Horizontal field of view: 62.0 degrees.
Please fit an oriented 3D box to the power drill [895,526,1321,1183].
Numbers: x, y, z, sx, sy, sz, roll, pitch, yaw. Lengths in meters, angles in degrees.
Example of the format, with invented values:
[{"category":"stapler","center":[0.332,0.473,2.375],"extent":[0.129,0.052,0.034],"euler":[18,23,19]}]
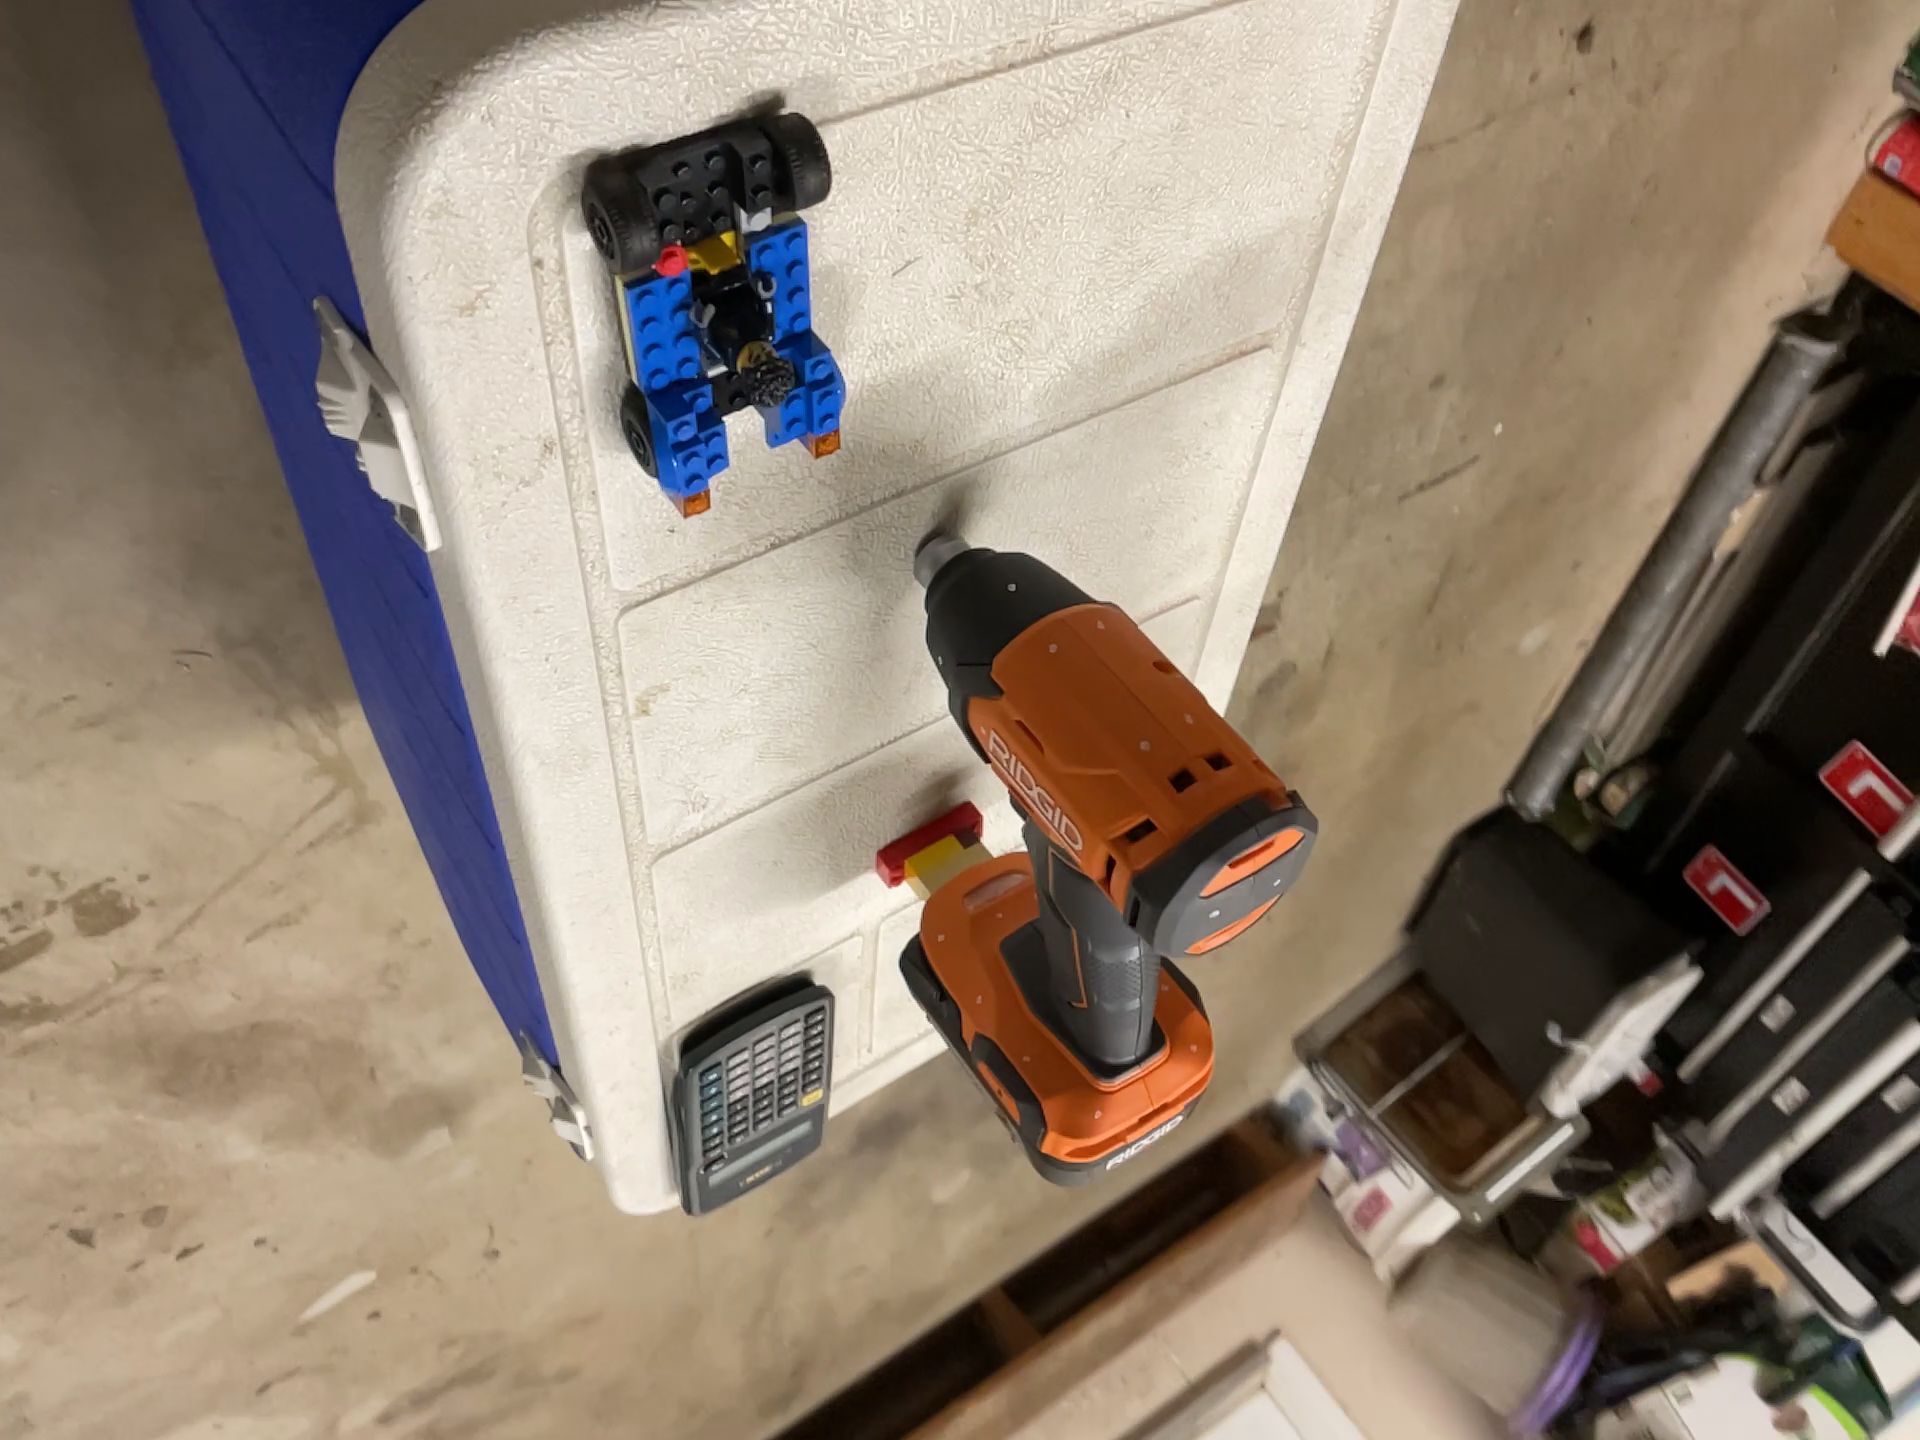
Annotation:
[{"category":"power drill","center":[0.031,0.046,0.551],"extent":[0.084,0.164,0.226],"euler":[-26,148,-22]}]
